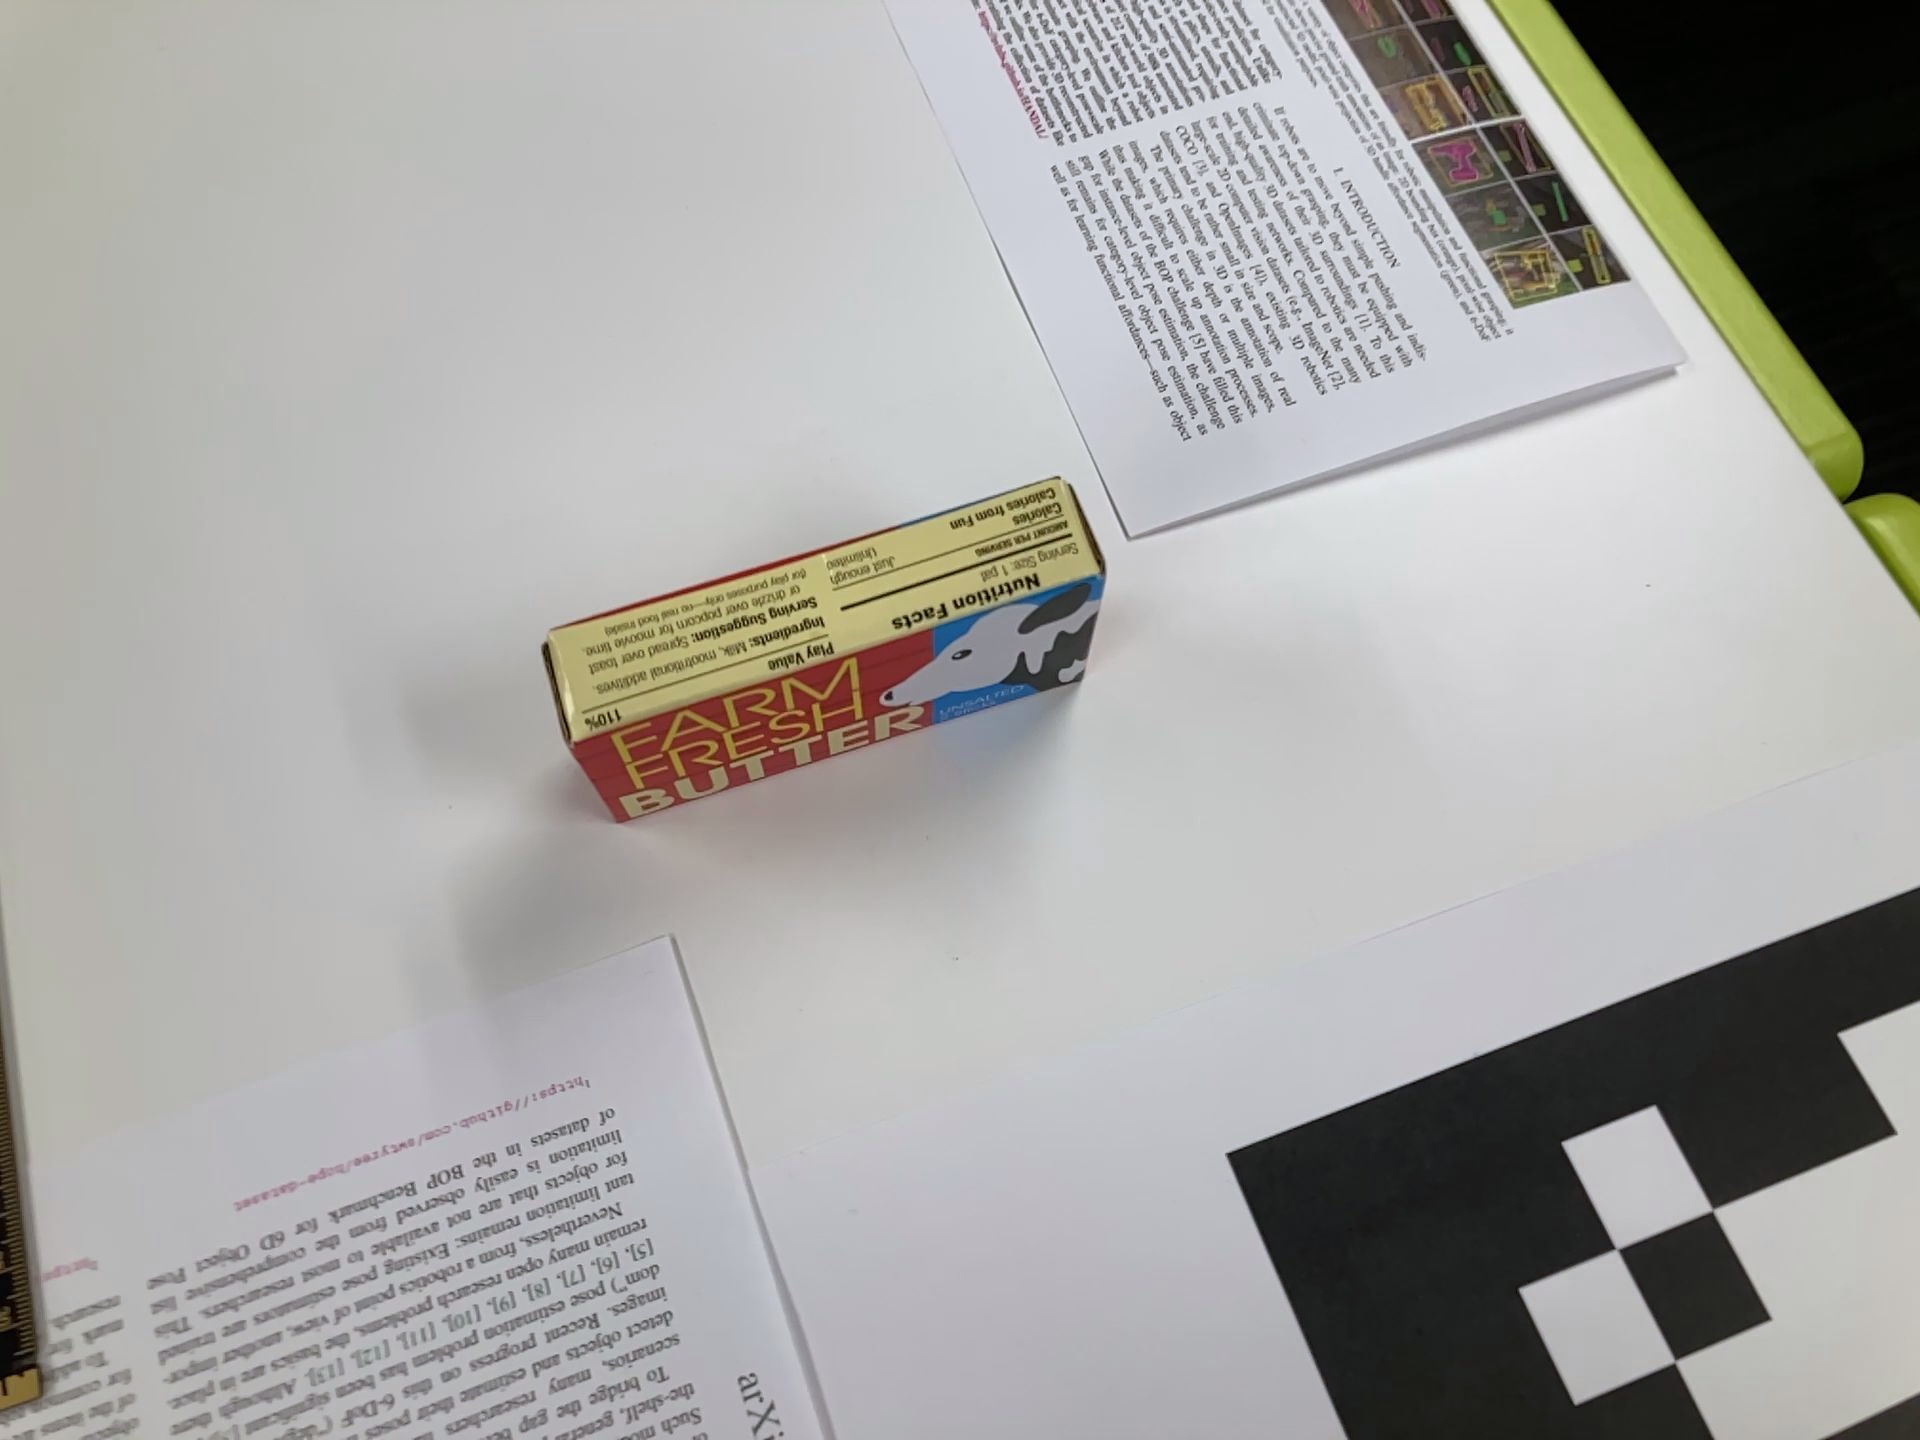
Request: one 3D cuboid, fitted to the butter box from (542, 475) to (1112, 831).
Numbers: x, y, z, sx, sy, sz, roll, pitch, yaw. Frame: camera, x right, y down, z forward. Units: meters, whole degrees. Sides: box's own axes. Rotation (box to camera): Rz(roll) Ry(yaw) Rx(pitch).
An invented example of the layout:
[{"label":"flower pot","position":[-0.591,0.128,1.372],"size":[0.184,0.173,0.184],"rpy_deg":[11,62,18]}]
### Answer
[{"label":"butter box","position":[-0.025,-0.012,0.307],"size":[0.103,0.053,0.024],"rpy_deg":[-18,70,-8]}]
